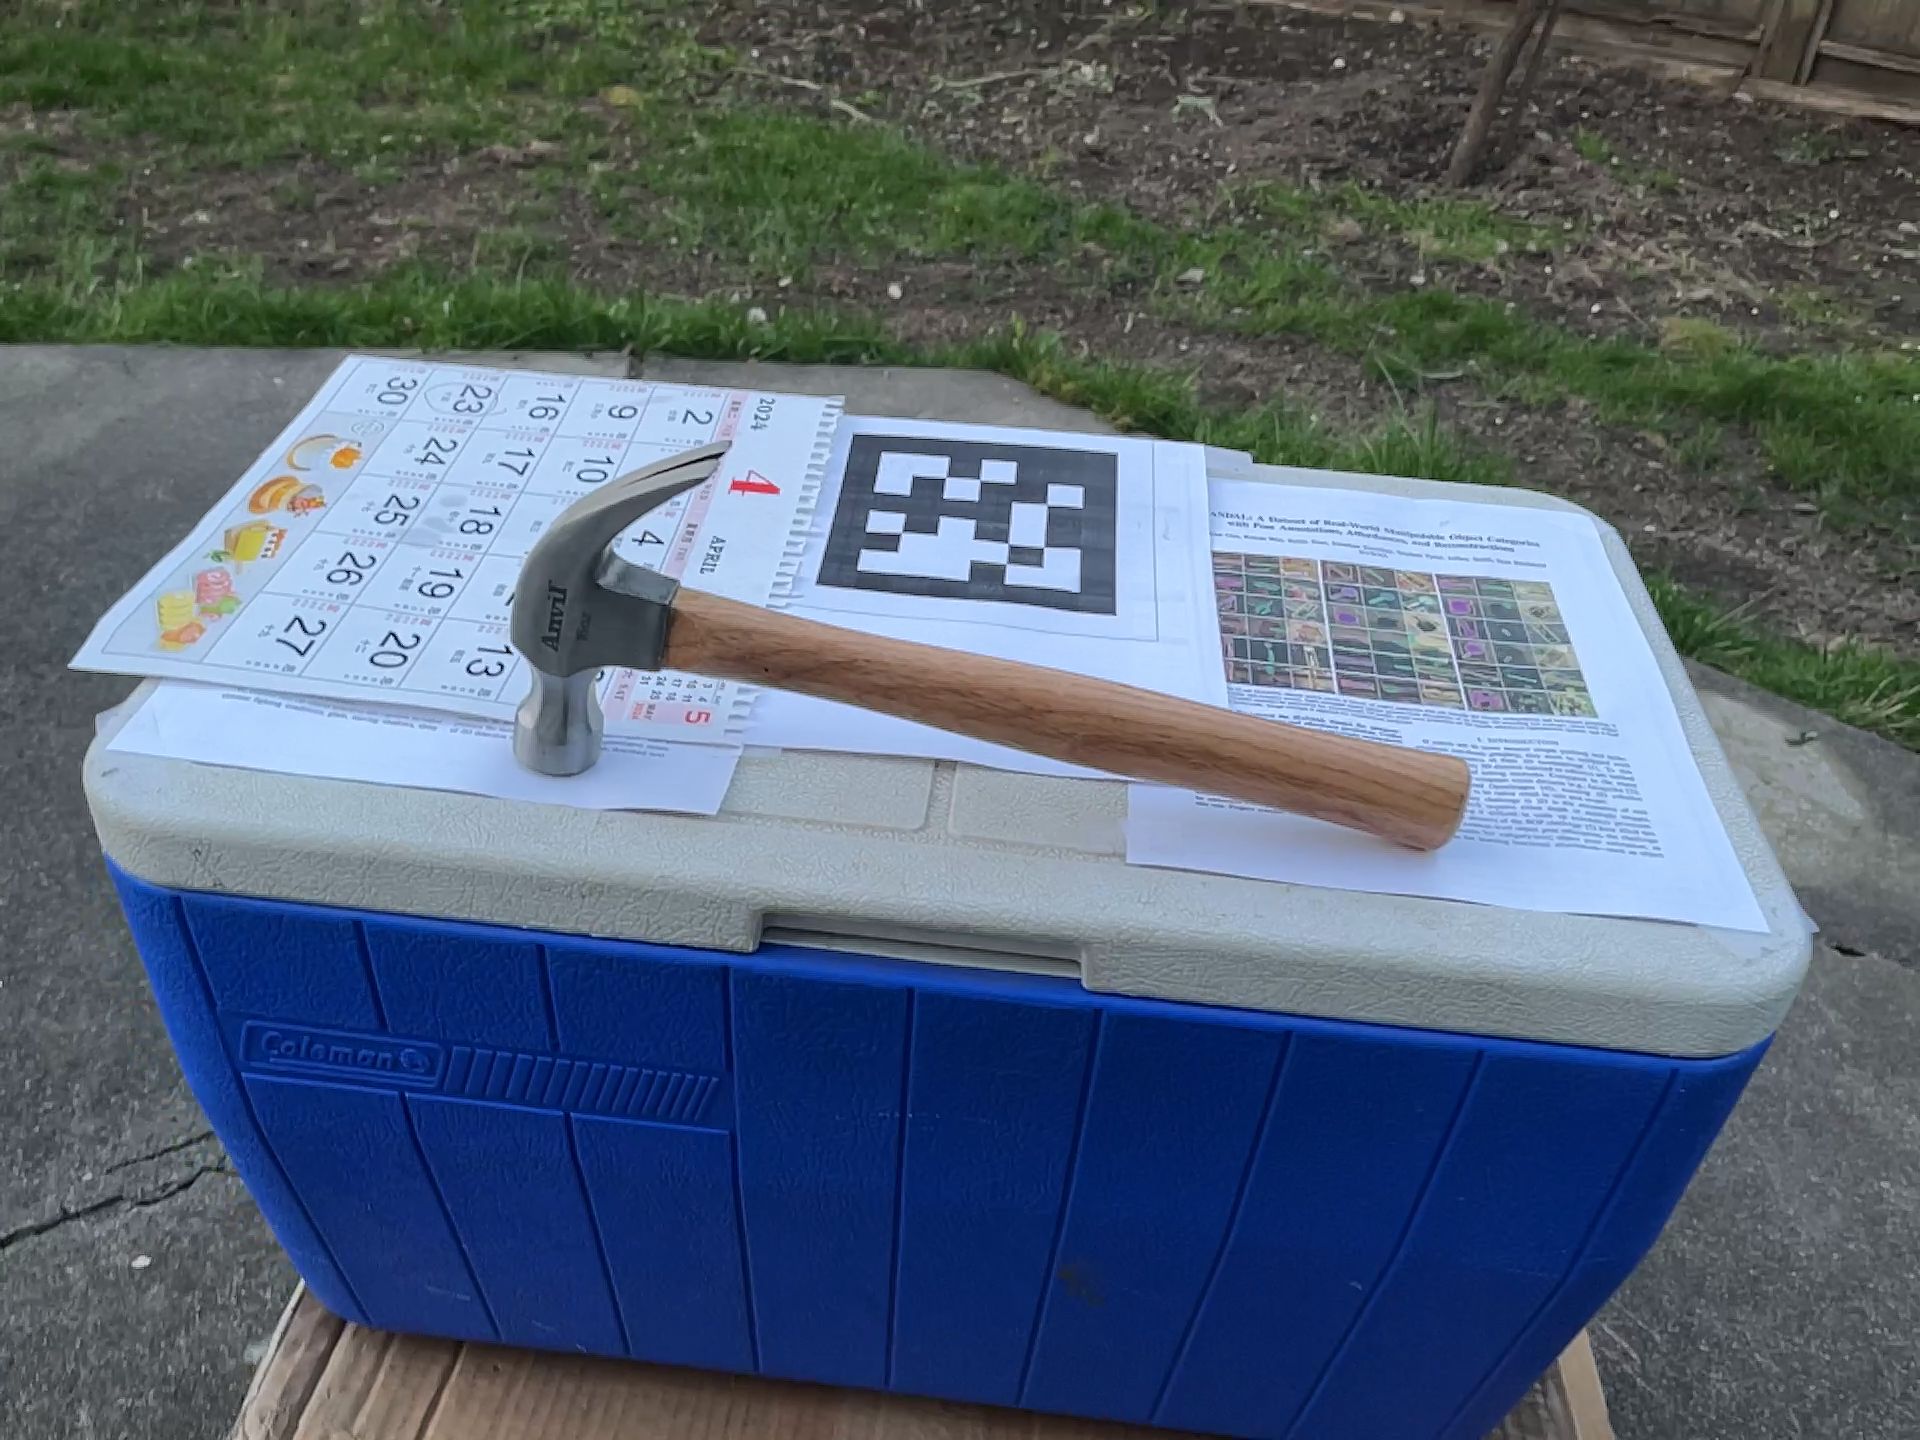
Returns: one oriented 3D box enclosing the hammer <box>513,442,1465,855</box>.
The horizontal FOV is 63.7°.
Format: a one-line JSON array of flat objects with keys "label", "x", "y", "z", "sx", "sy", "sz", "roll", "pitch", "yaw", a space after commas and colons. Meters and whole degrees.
[{"label": "hammer", "x": 0.012, "y": -0.008, "z": 0.535, "sx": 0.331, "sy": 0.130, "sz": 0.031, "roll": 13, "pitch": 33, "yaw": -3}]
